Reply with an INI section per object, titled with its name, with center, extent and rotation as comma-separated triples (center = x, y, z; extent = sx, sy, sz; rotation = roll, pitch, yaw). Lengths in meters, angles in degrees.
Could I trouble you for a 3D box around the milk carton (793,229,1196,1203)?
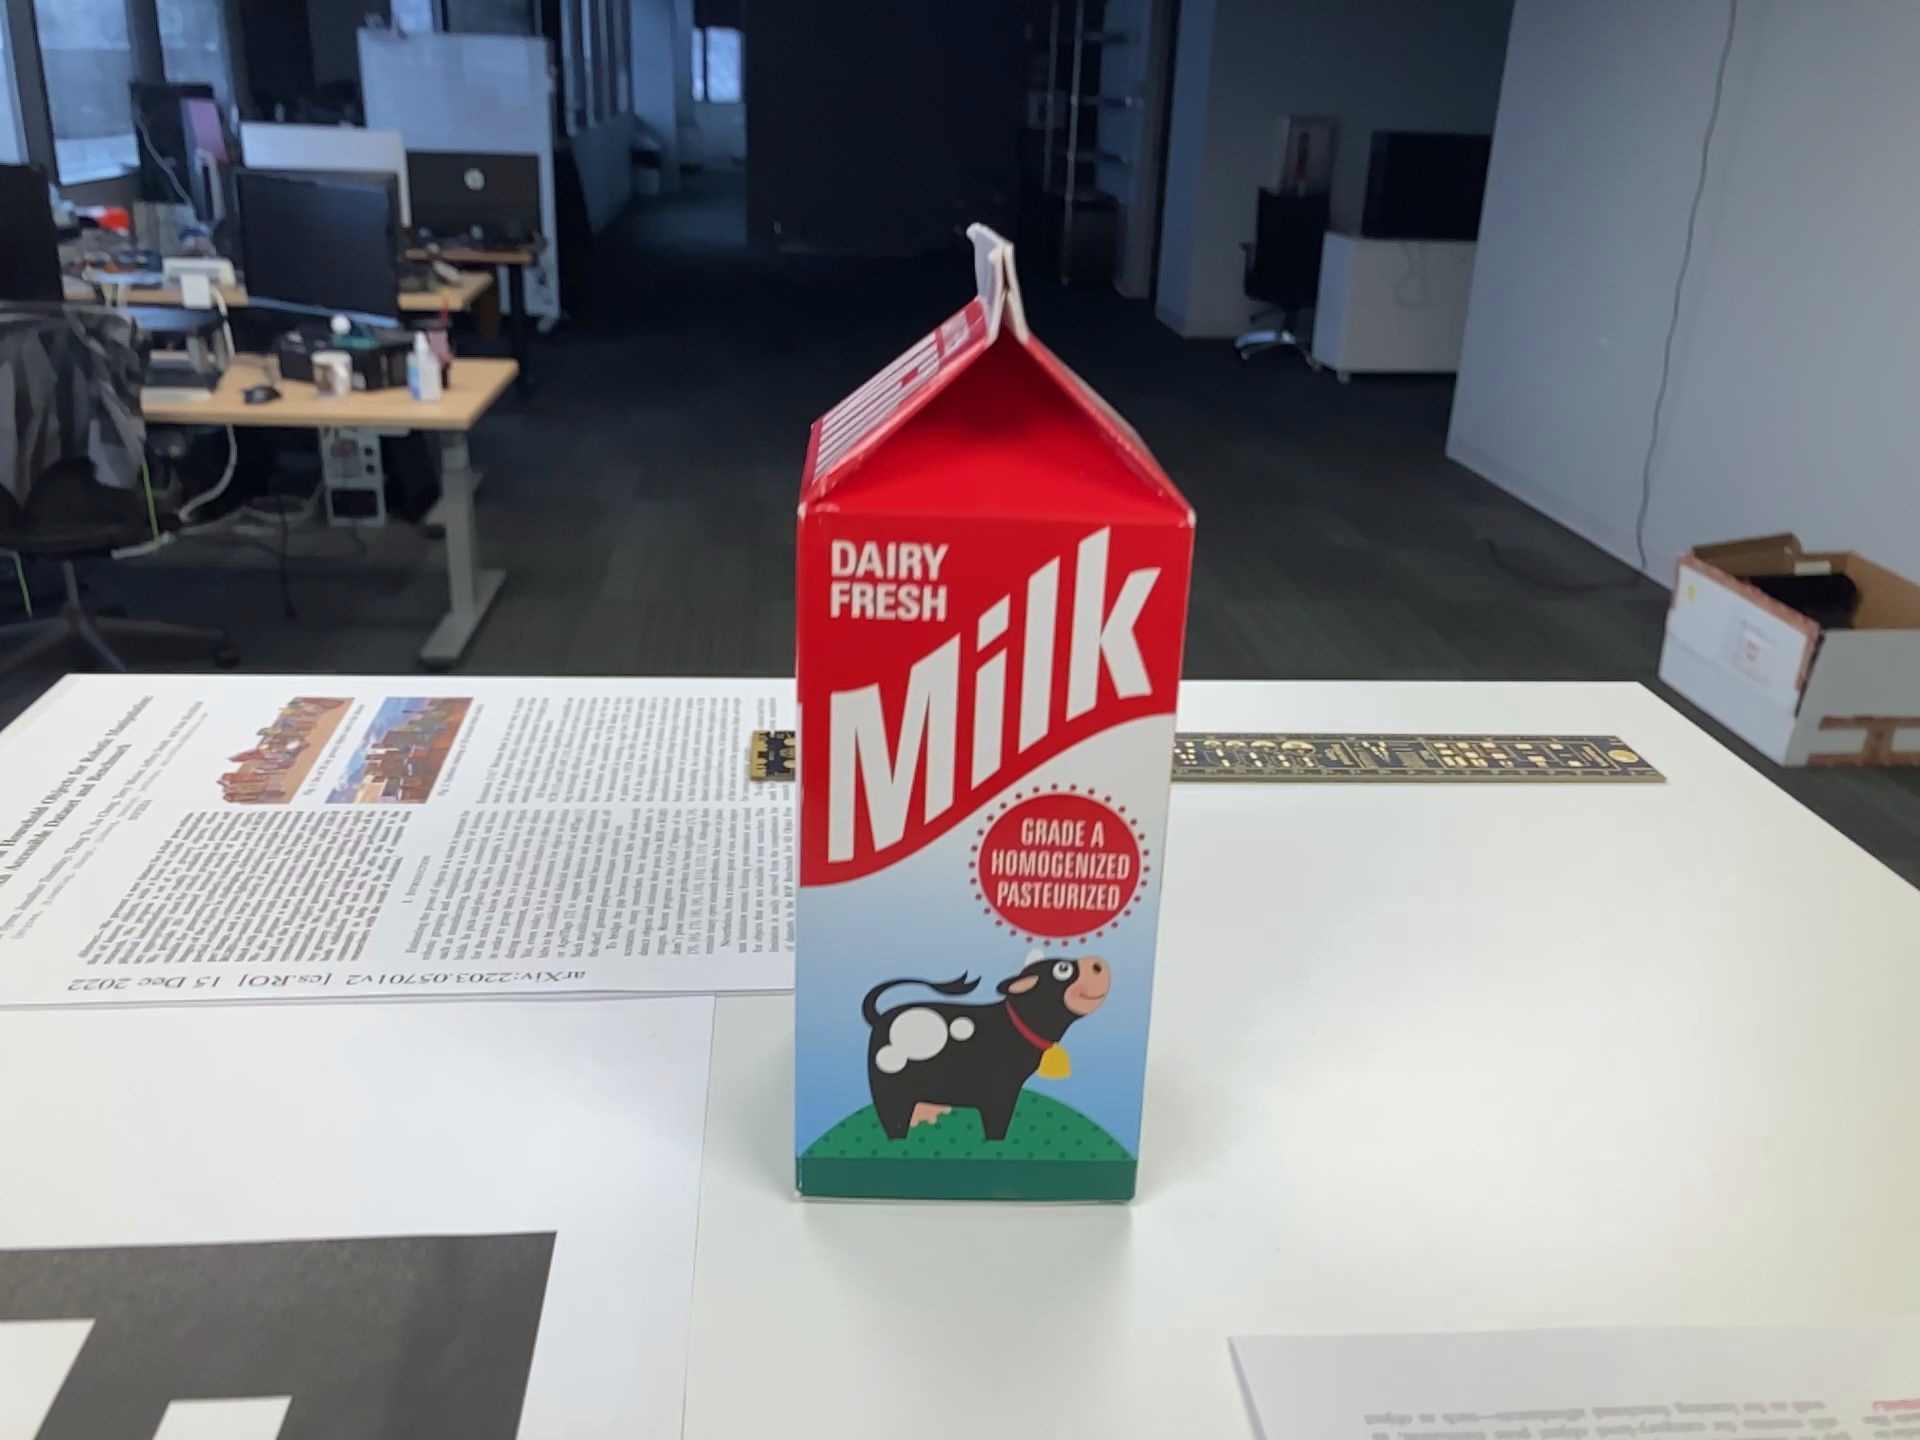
[milk carton]
center = 0.003, 0.000, 0.327
extent = 0.073, 0.190, 0.072
rotation = 1, 21, -3
